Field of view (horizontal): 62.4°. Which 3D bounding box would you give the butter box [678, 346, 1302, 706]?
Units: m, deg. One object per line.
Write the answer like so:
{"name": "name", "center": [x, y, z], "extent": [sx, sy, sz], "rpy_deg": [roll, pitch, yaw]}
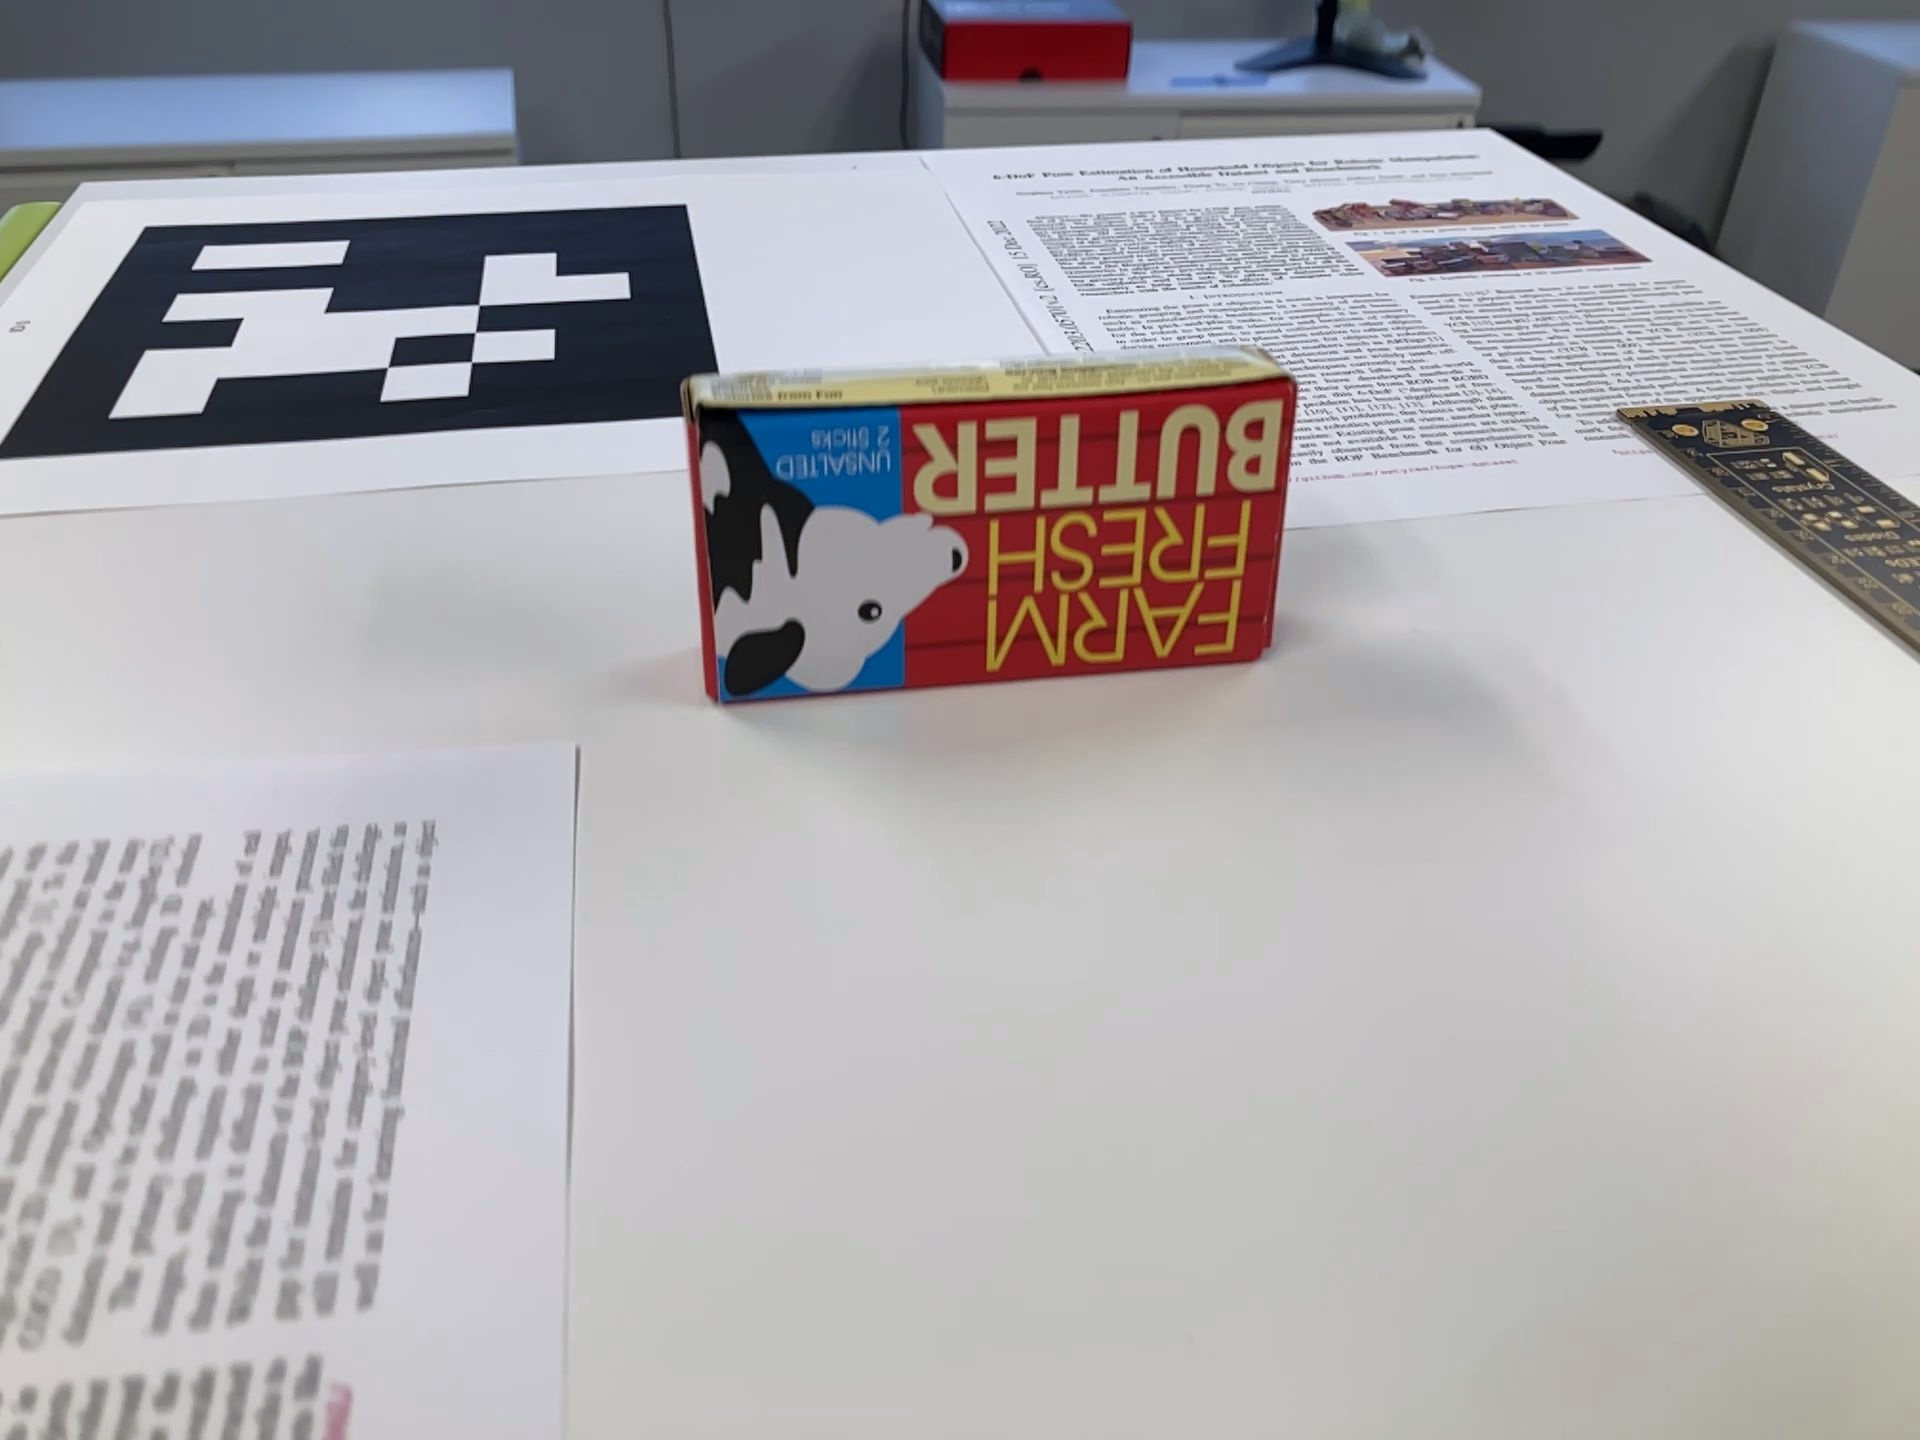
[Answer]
{"name": "butter box", "center": [0.006, -0.034, 0.274], "extent": [0.103, 0.053, 0.024], "rpy_deg": [-5, 32, -10]}
